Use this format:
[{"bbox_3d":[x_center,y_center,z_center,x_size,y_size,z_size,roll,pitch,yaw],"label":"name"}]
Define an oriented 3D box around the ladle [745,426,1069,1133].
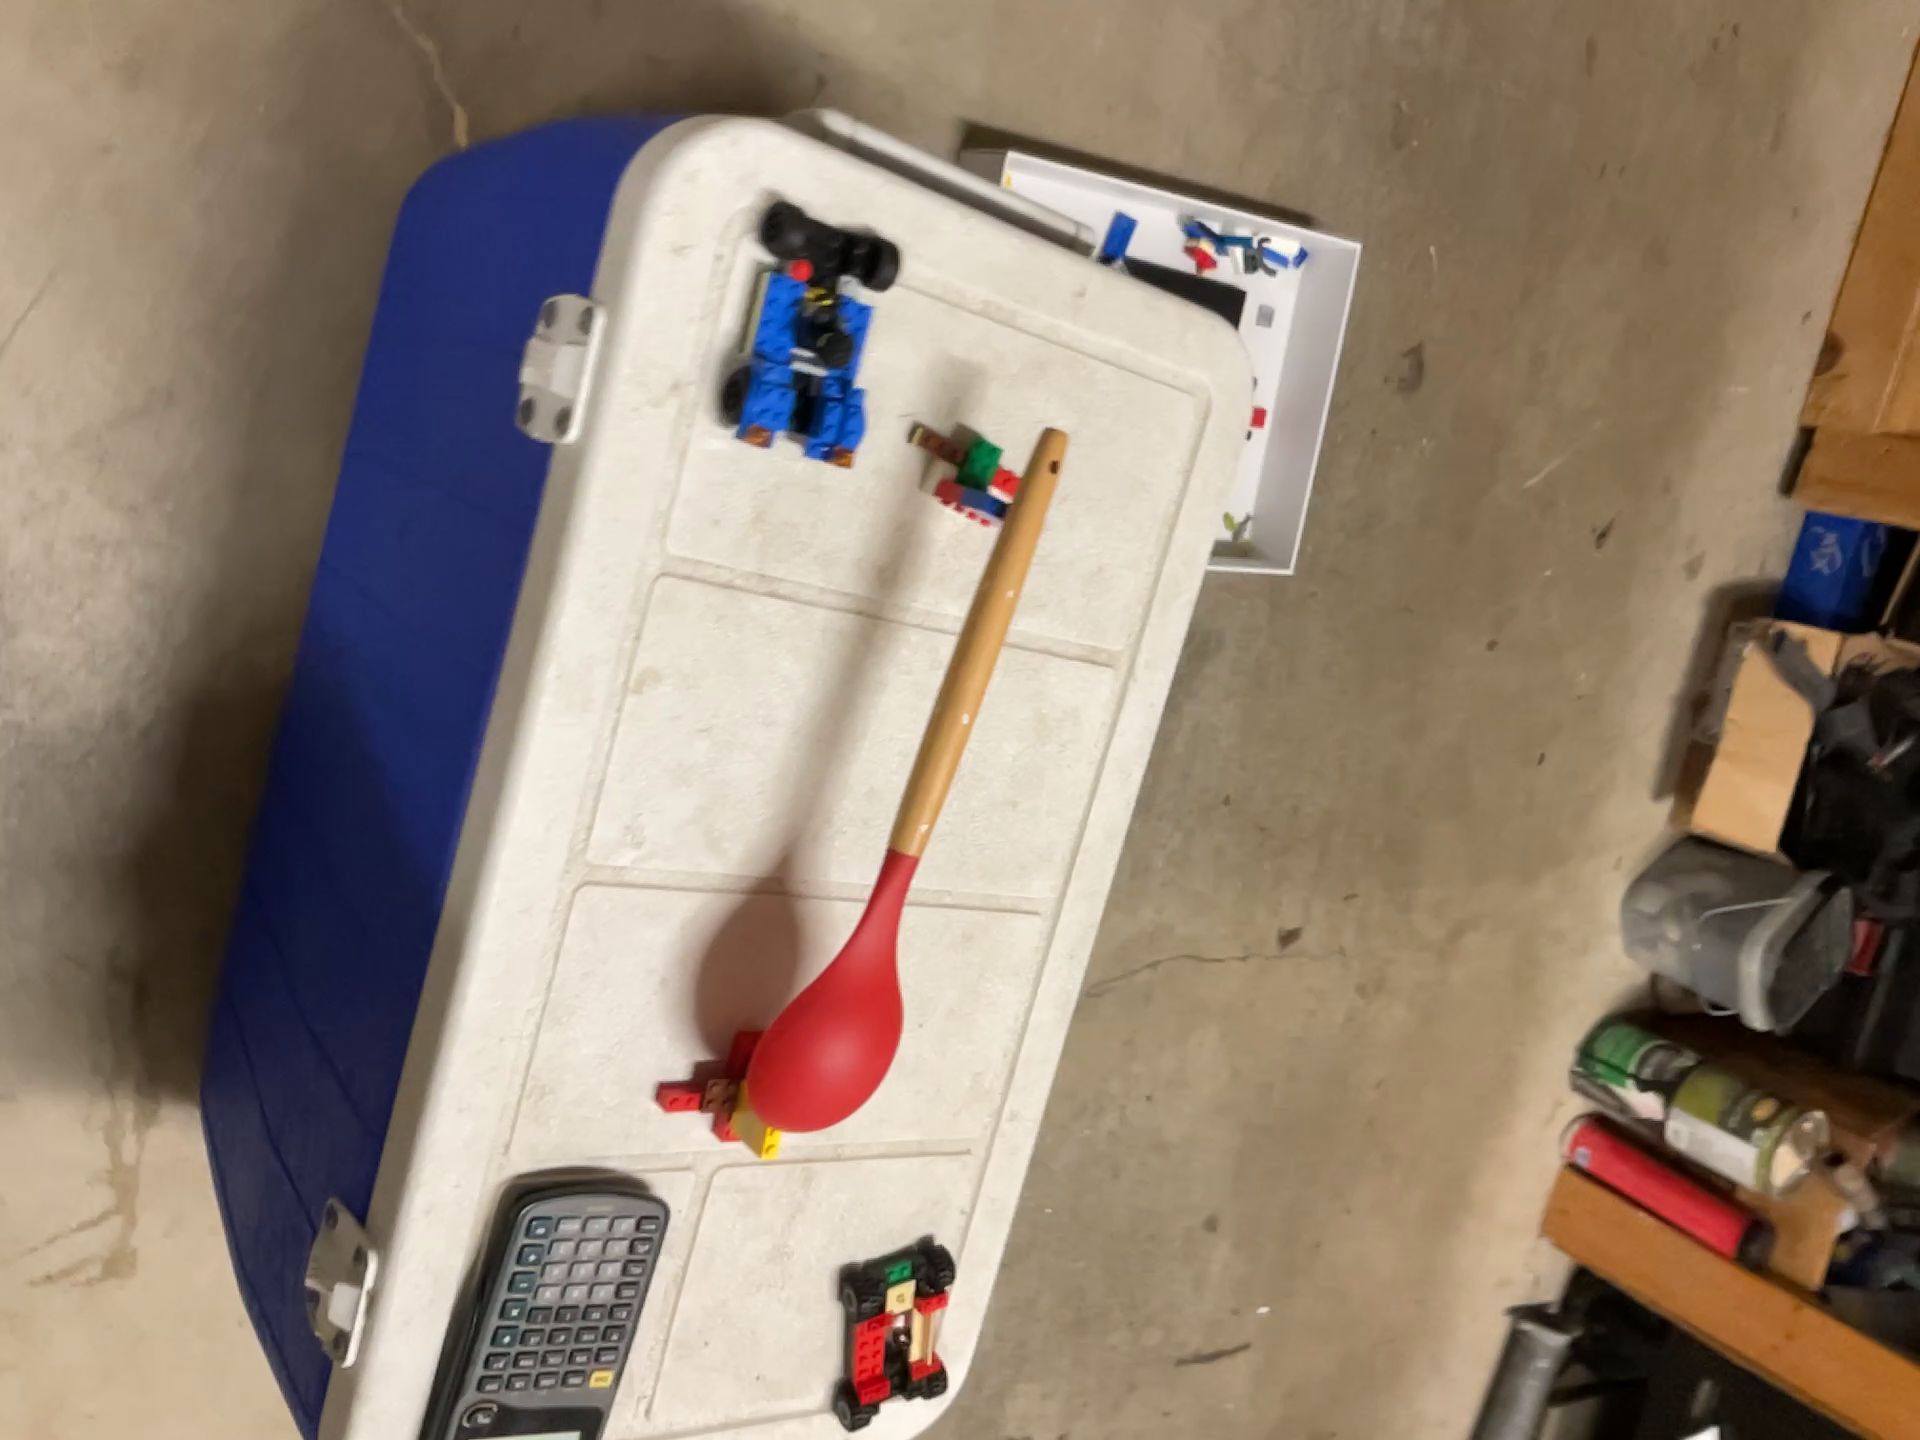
[{"bbox_3d":[-0.014,0.030,0.658,0.069,0.031,0.315,17,95,-39],"label":"ladle"}]
